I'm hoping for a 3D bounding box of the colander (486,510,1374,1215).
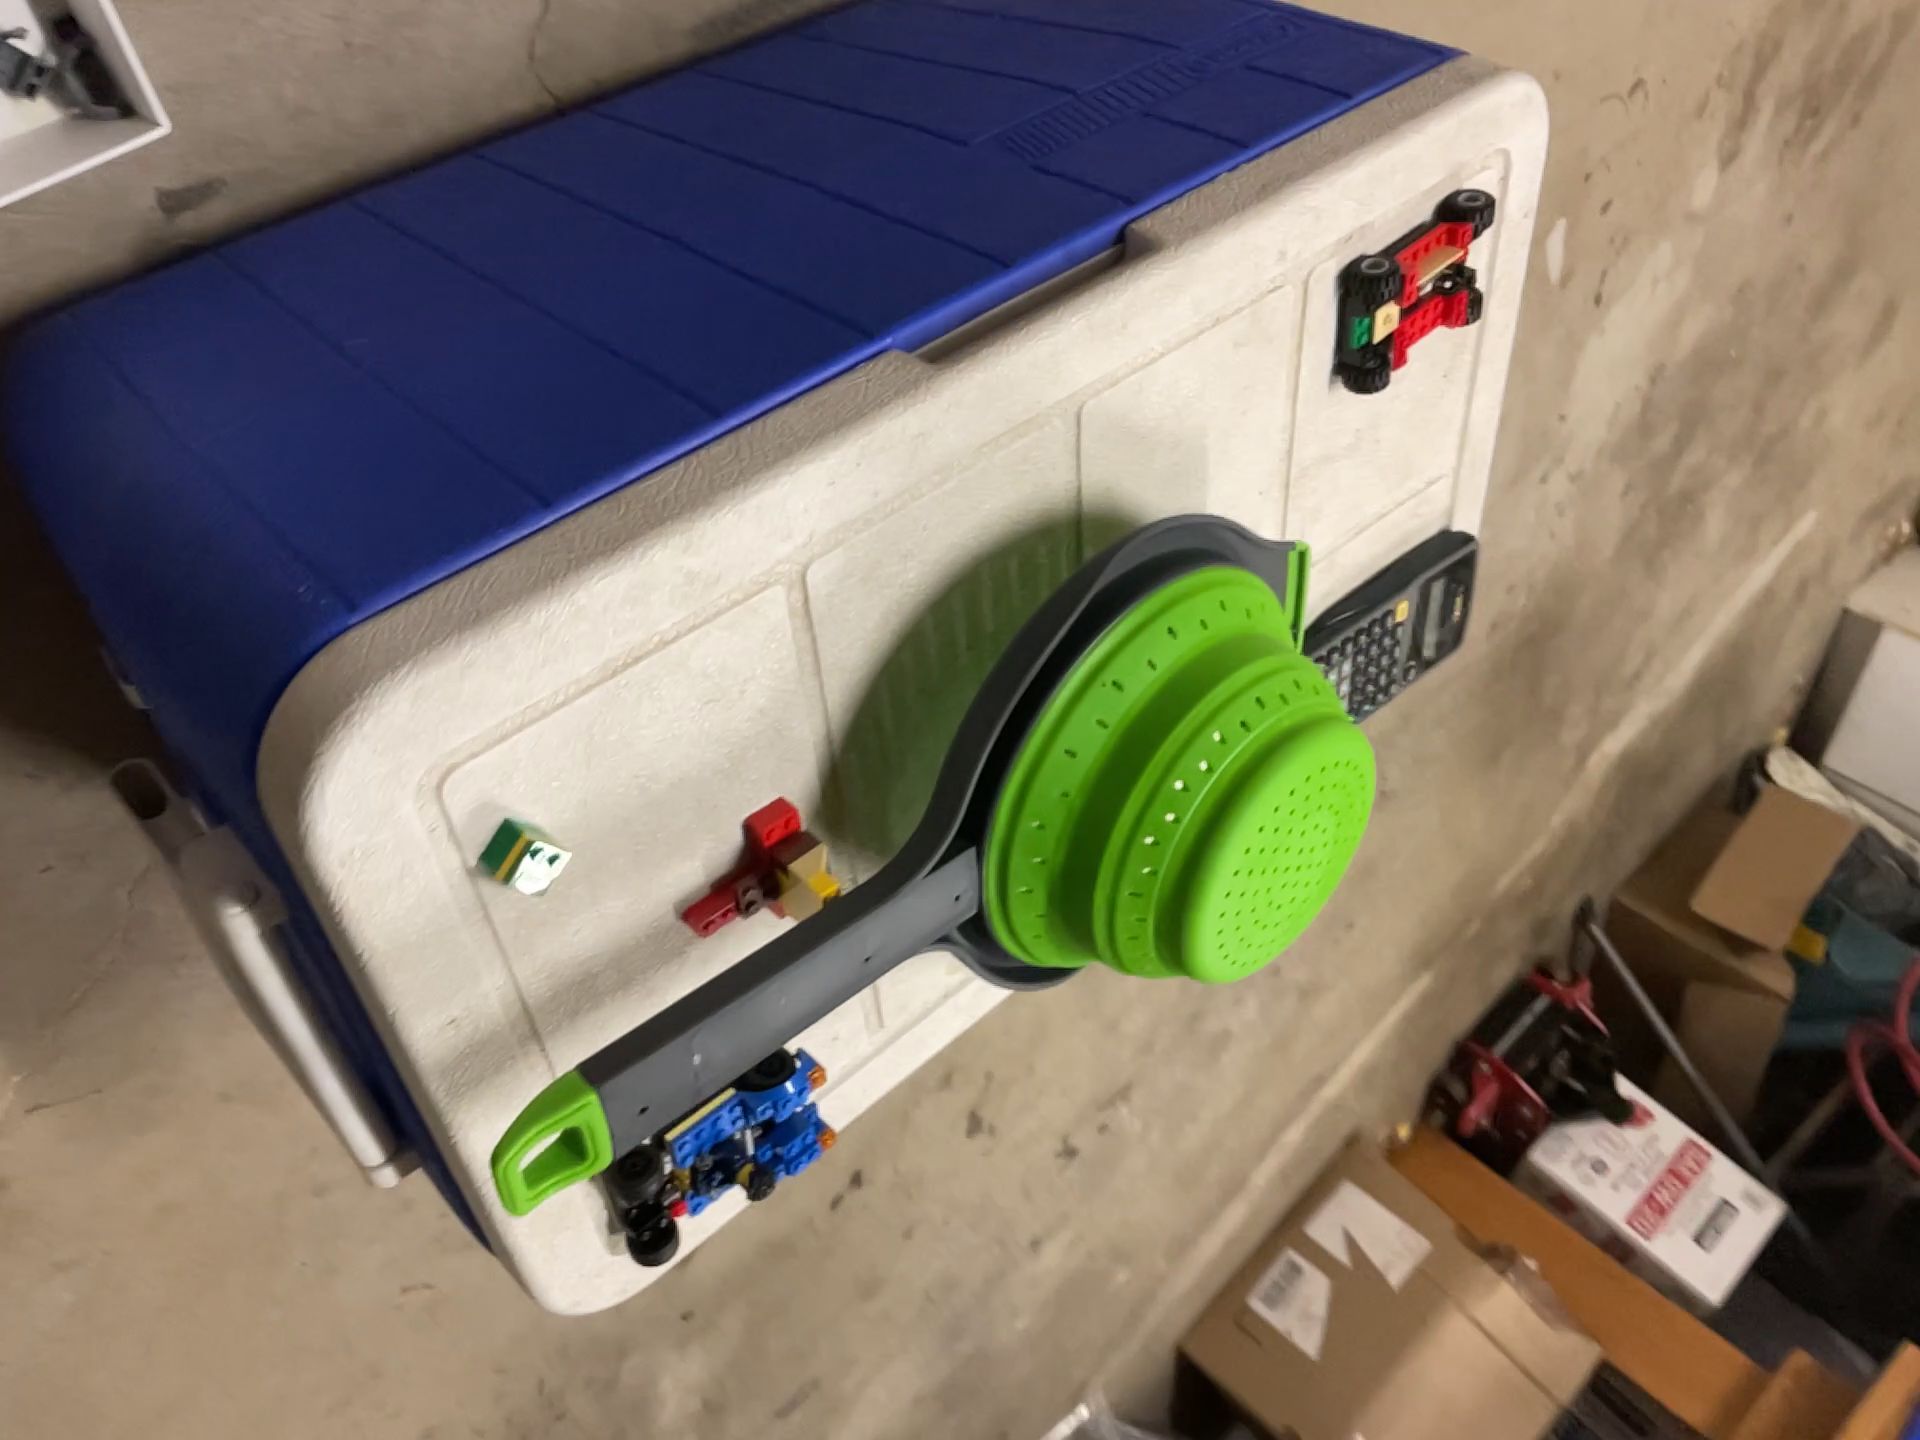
[{"bbox_3d":[0.029,0.068,0.561,0.397,0.095,0.204,-31,137,-31],"label":"colander"}]
